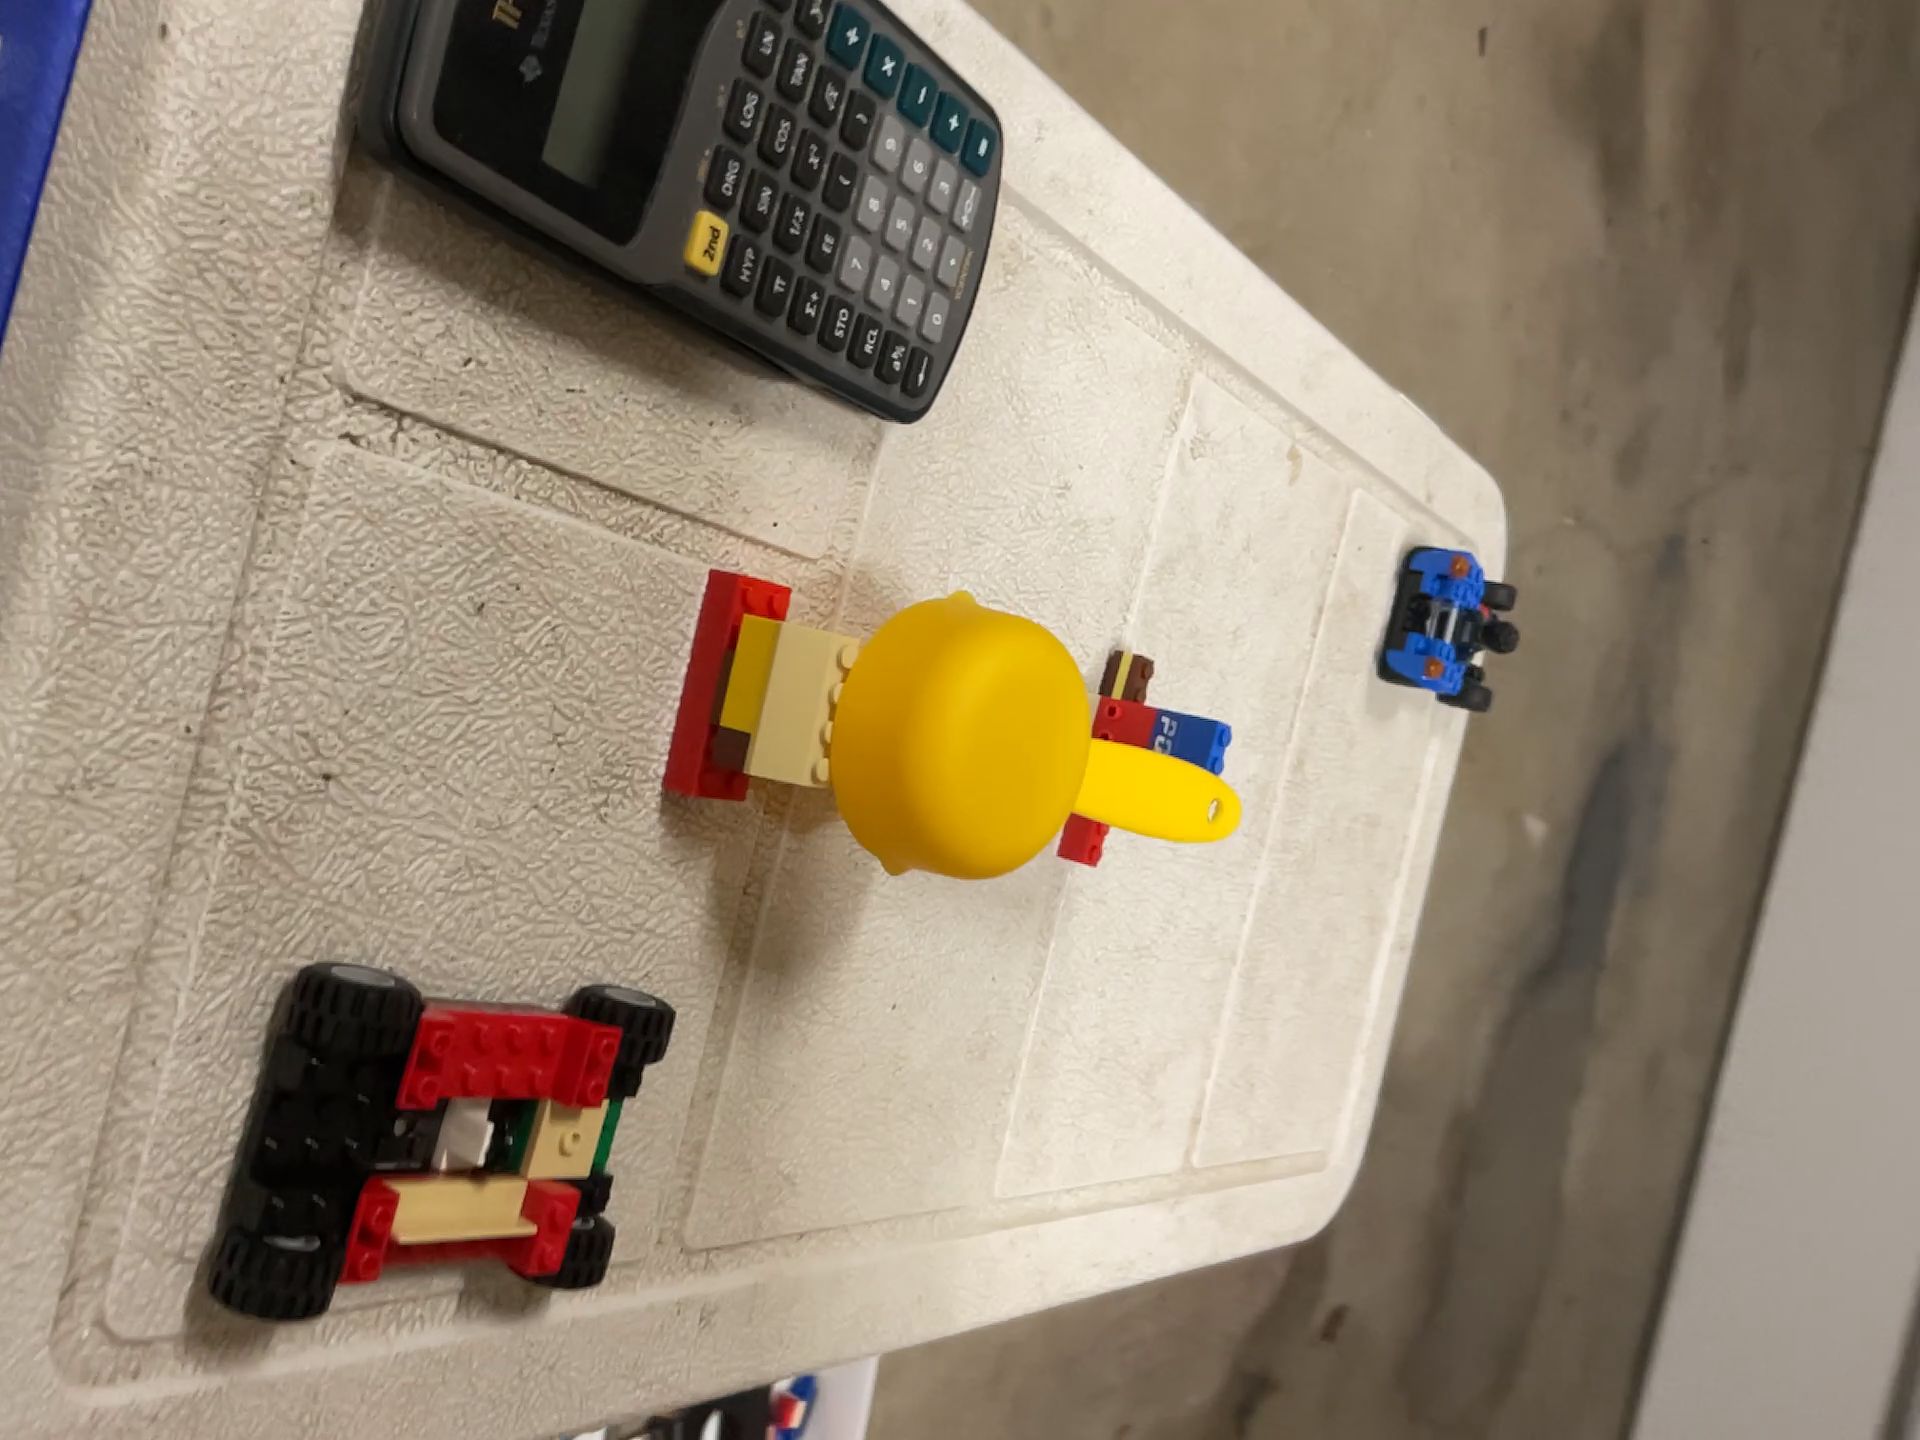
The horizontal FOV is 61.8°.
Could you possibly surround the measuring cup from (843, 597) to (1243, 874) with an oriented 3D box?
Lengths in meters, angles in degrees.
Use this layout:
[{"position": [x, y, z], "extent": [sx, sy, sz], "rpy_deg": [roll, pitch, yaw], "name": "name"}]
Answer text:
[{"position": [0.035, 0.014, 0.382], "extent": [0.156, 0.029, 0.062], "rpy_deg": [16, 87, -48], "name": "measuring cup"}]
